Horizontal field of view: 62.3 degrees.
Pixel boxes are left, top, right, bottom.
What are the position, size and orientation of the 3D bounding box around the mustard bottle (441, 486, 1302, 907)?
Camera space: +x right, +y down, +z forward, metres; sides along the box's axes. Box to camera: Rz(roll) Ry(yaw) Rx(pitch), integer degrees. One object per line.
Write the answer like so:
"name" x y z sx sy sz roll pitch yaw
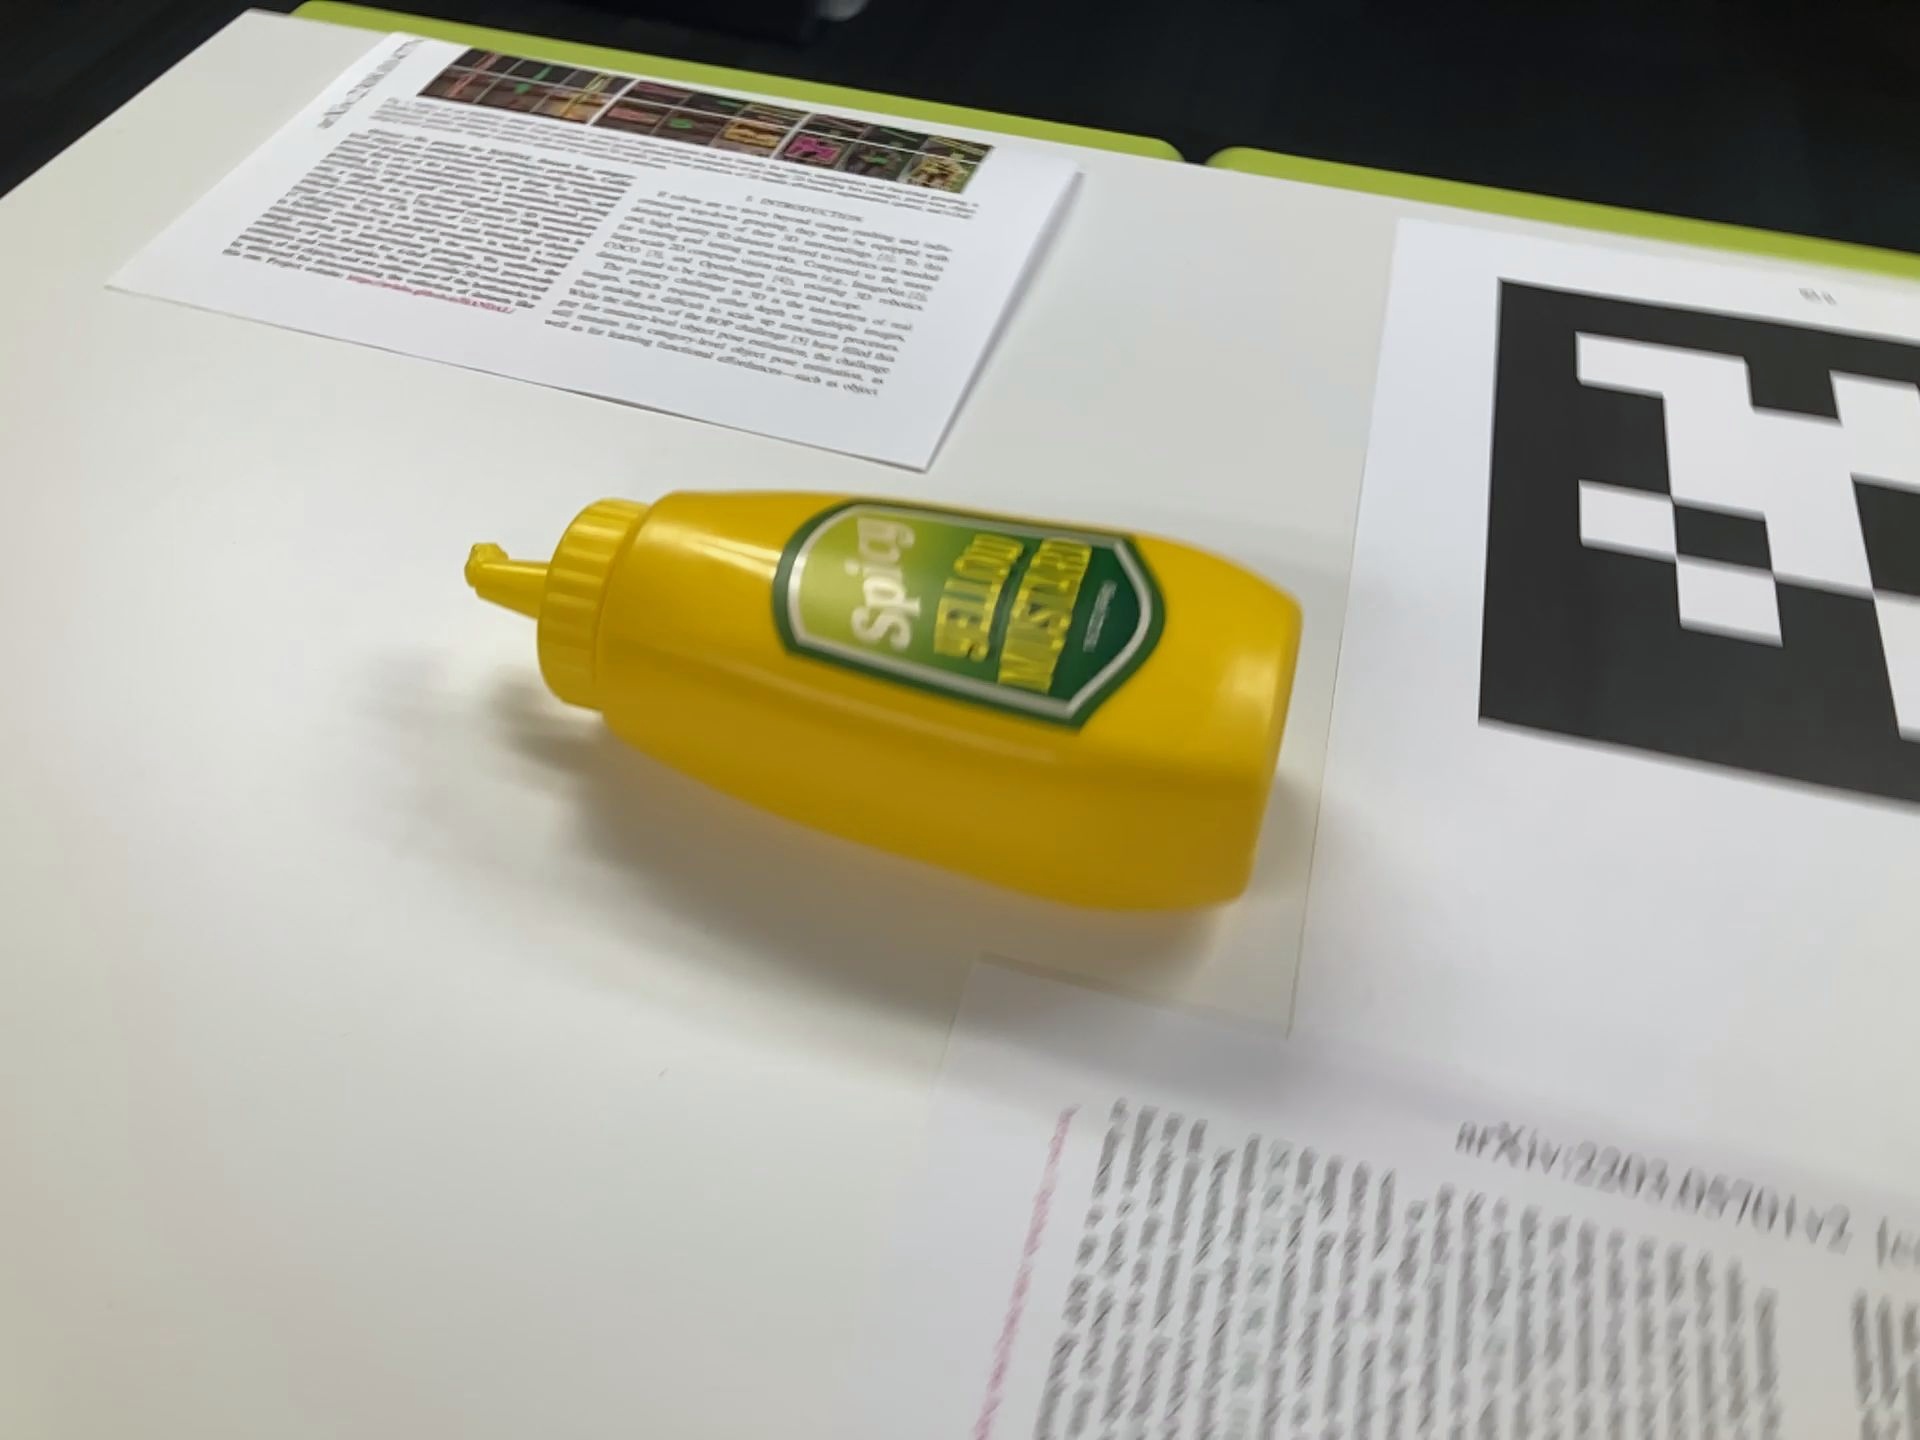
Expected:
"mustard bottle" -0.022 -0.012 0.286 0.160 0.049 0.065 12 48 9
